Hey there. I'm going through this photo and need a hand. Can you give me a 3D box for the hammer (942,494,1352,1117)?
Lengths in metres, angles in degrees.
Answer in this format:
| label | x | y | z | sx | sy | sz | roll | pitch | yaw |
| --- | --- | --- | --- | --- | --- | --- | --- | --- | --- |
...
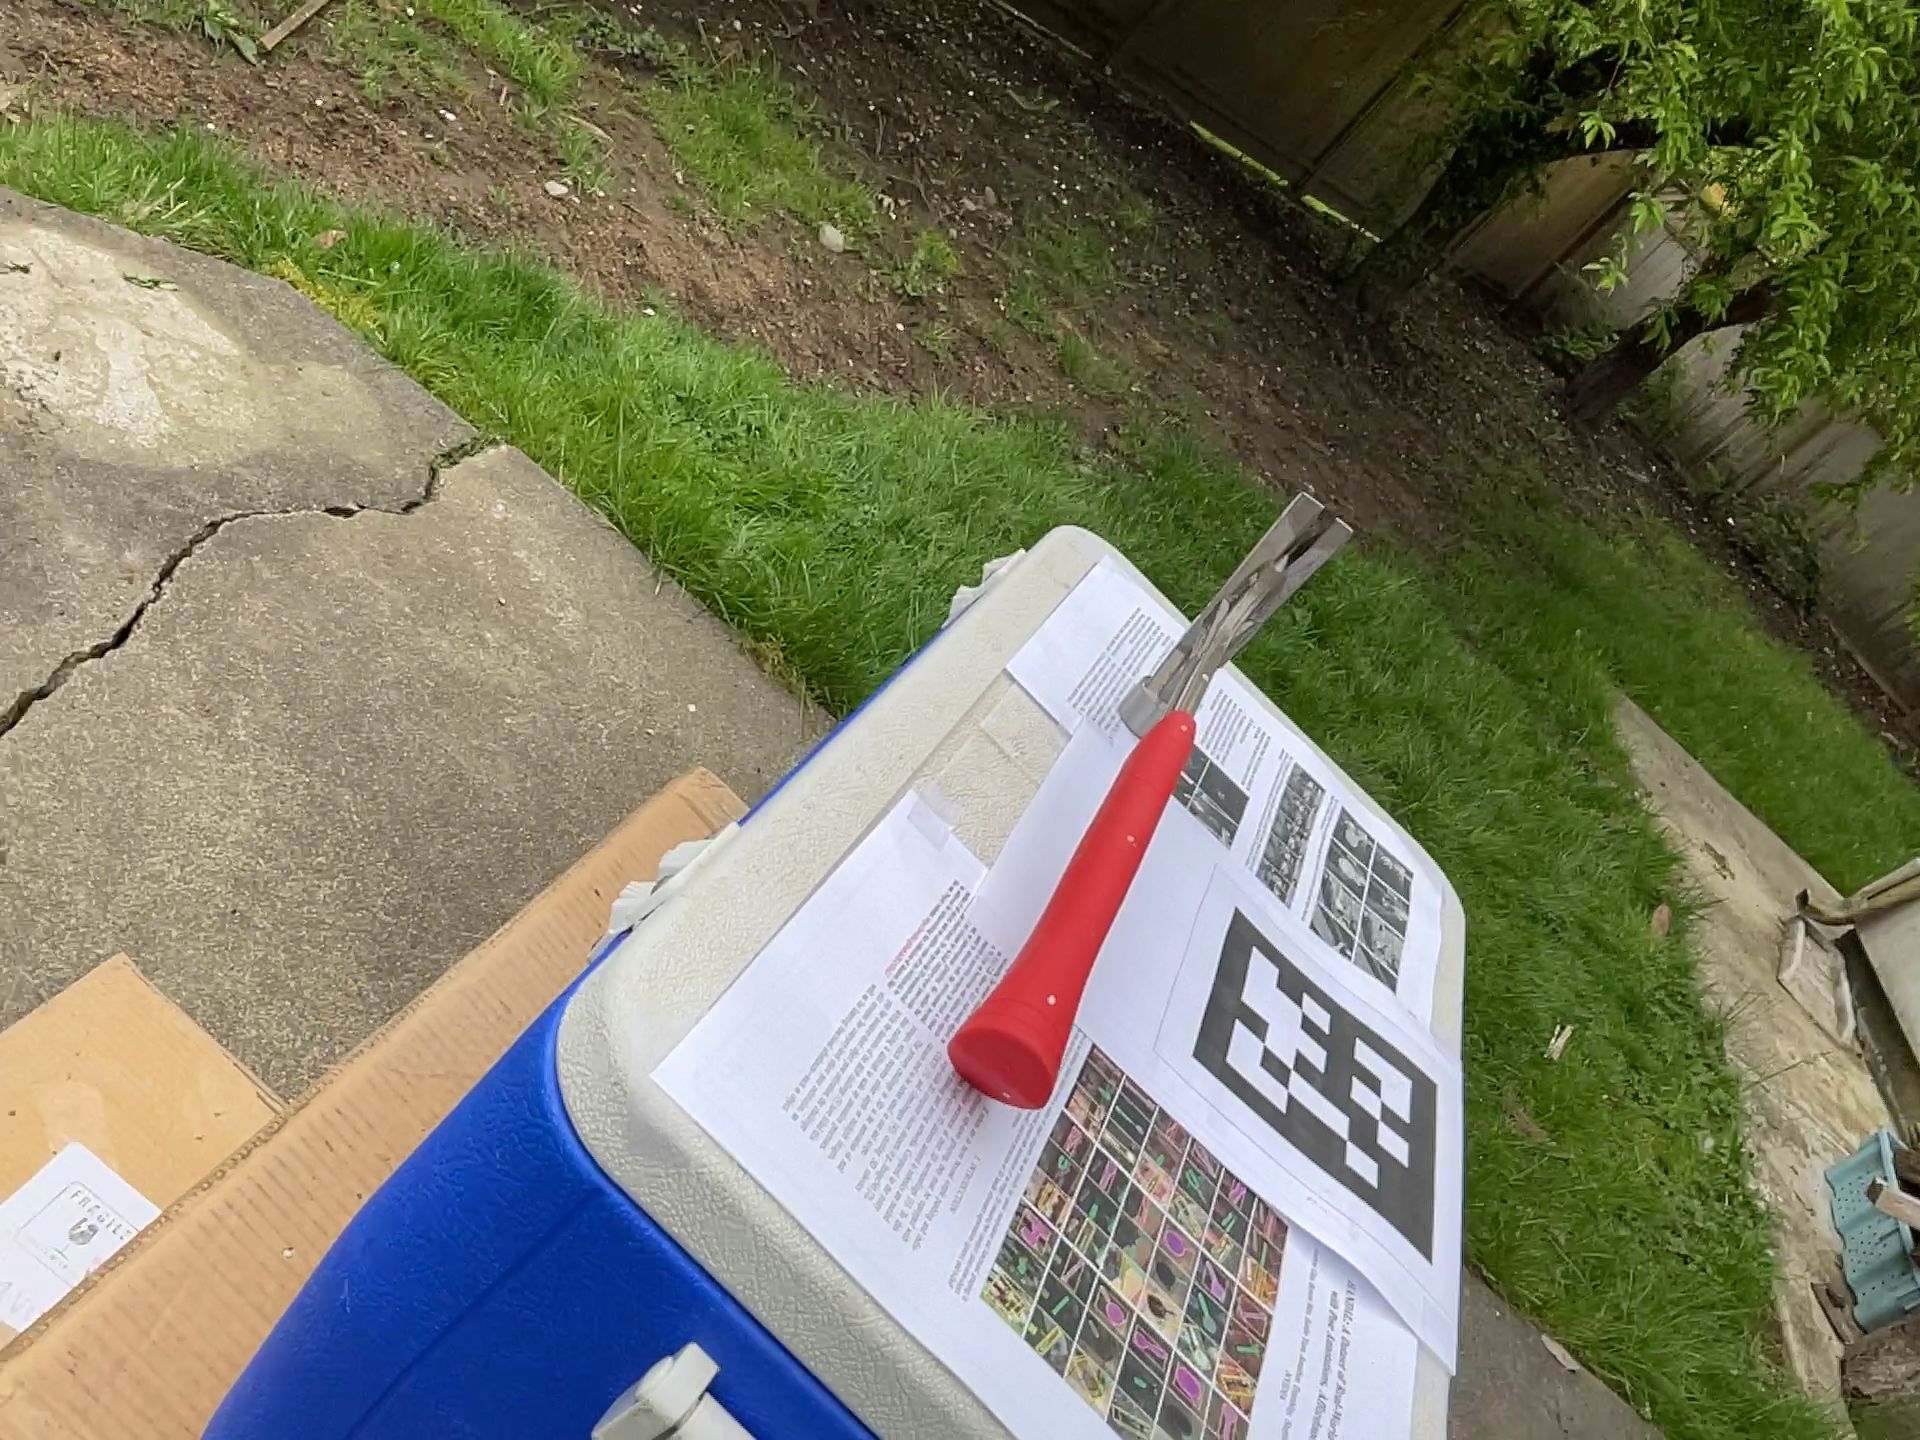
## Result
| label | x | y | z | sx | sy | sz | roll | pitch | yaw |
| --- | --- | --- | --- | --- | --- | --- | --- | --- | --- |
| hammer | 0.076 | 0.026 | 0.645 | 0.036 | 0.149 | 0.359 | 38 | 33 | -1 |
